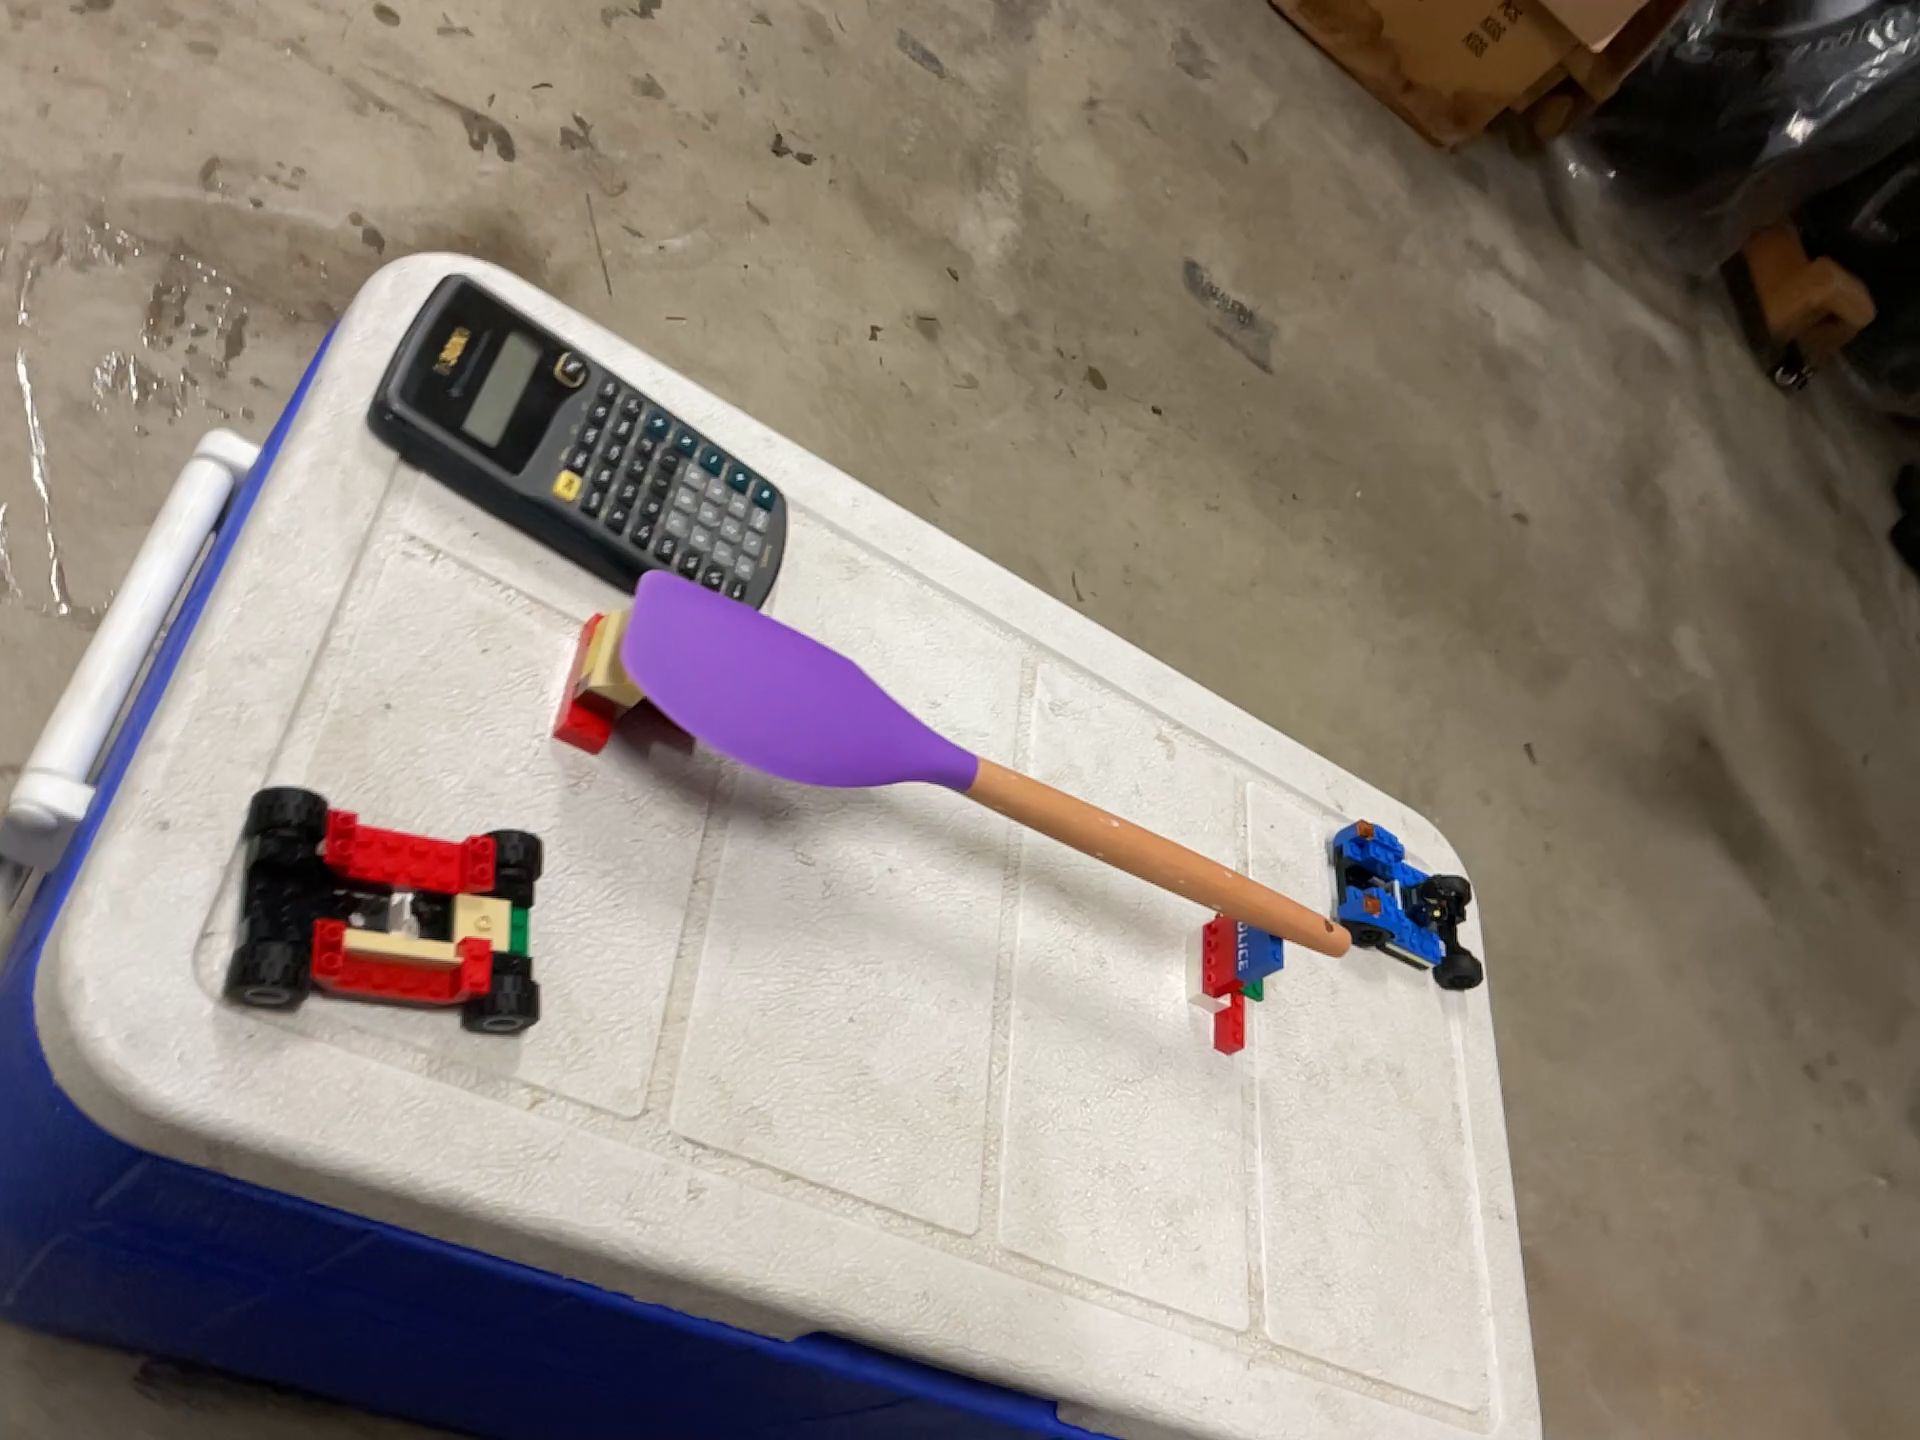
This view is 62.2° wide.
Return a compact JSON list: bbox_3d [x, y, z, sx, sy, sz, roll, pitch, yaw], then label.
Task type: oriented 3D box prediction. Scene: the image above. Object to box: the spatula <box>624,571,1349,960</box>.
[{"bbox_3d":[0.024,0.031,0.571,0.316,0.018,0.060,25,49,-26],"label":"spatula"}]
